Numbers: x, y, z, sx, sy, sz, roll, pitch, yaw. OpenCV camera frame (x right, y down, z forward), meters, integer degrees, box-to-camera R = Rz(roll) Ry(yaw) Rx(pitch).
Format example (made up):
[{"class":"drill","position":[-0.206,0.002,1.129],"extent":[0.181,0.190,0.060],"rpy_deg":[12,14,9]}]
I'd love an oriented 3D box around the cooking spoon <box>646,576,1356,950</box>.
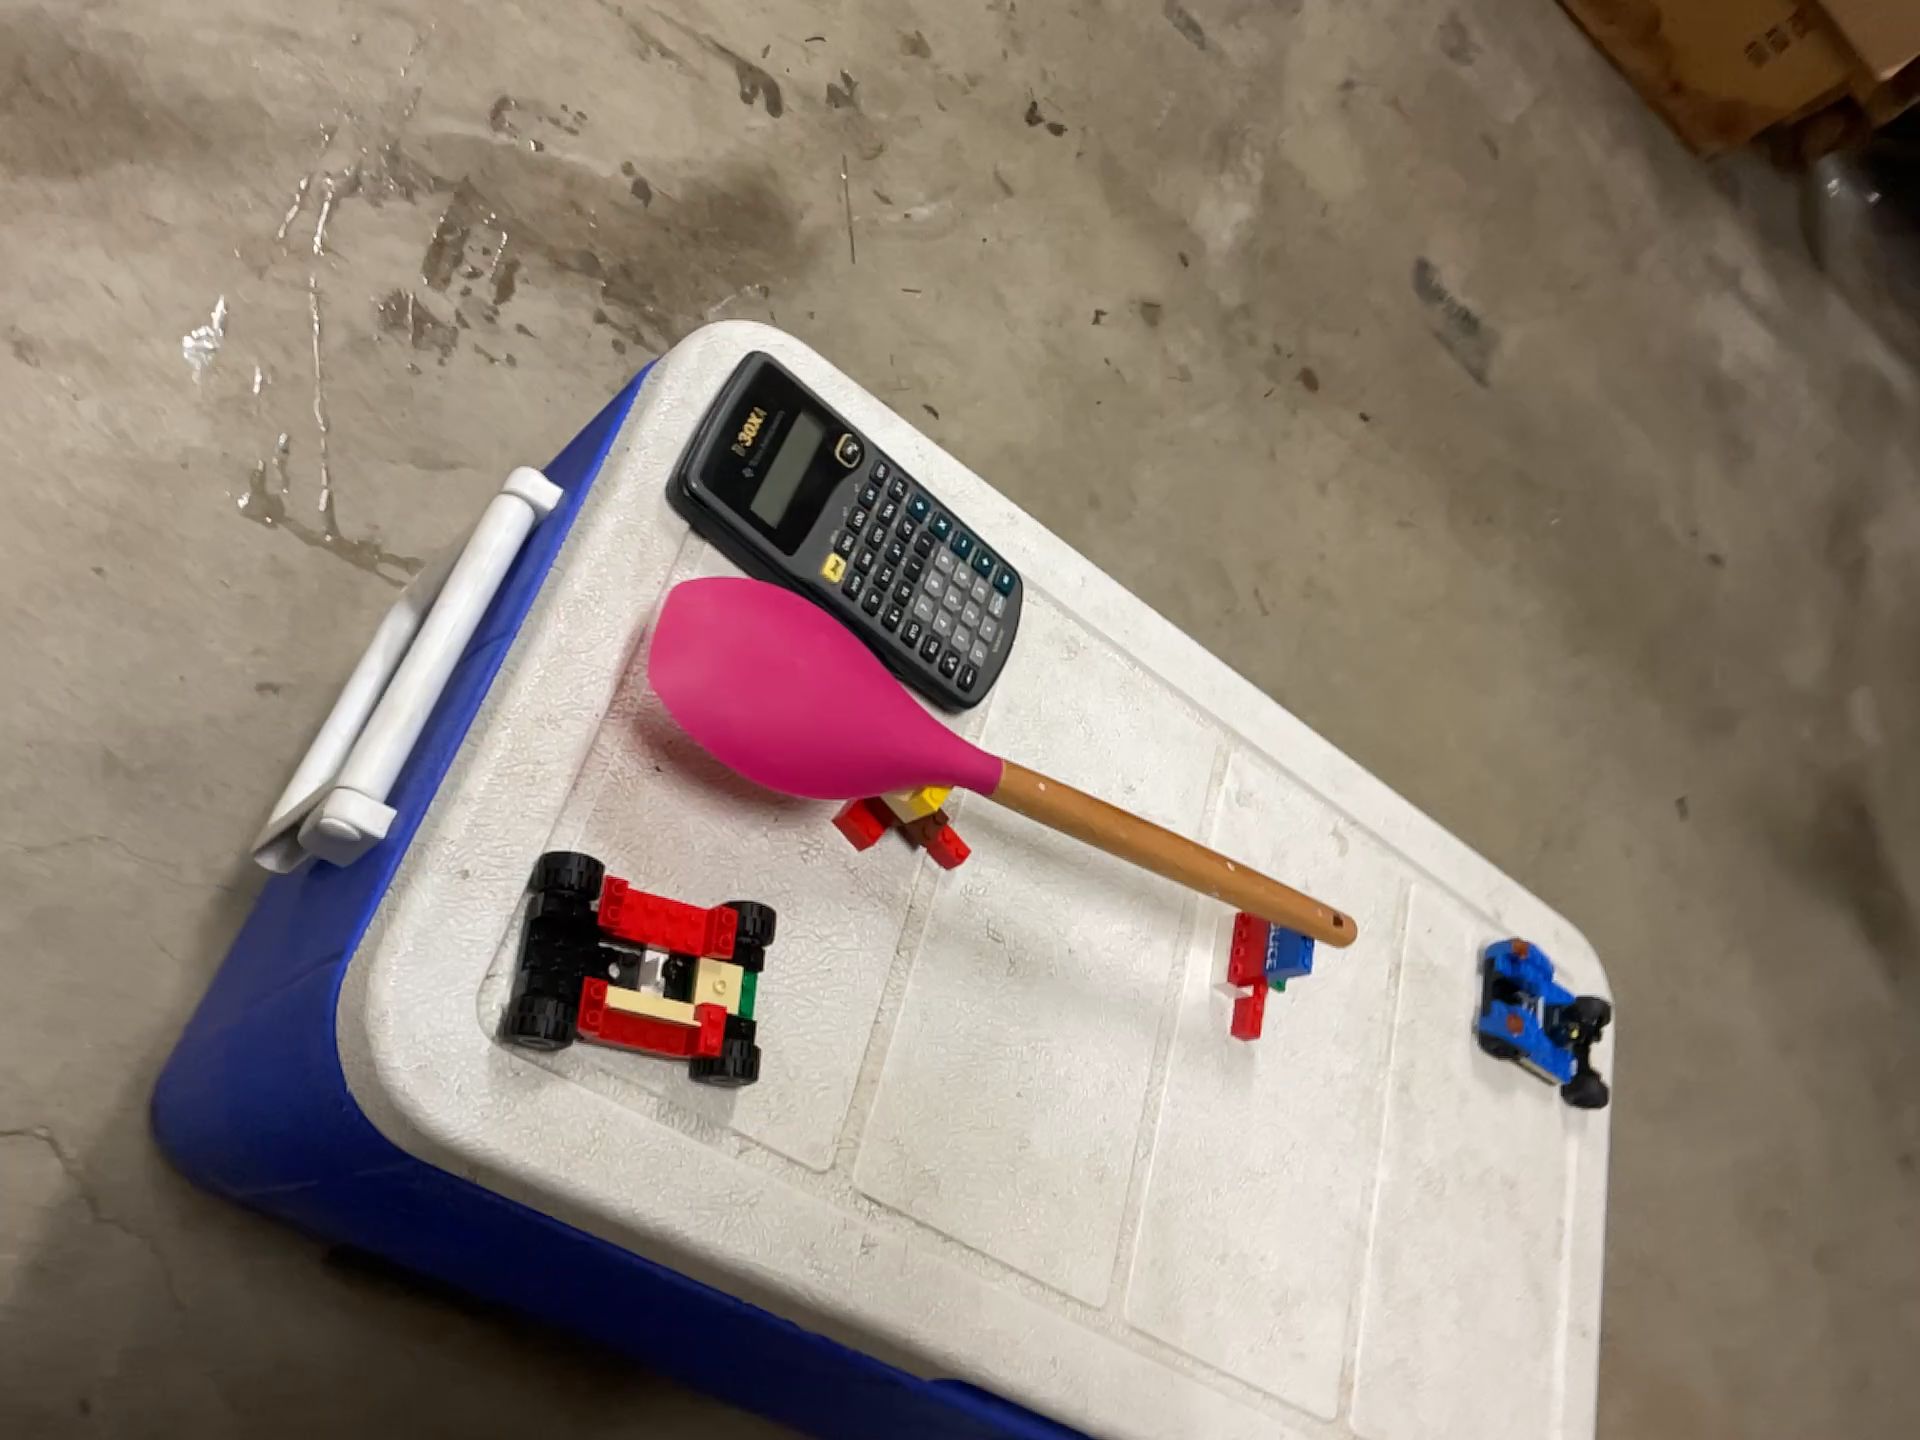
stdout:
[{"class":"cooking spoon","position":[0.031,0.029,0.579],"extent":[0.319,0.017,0.069],"rpy_deg":[25,64,-29]}]
